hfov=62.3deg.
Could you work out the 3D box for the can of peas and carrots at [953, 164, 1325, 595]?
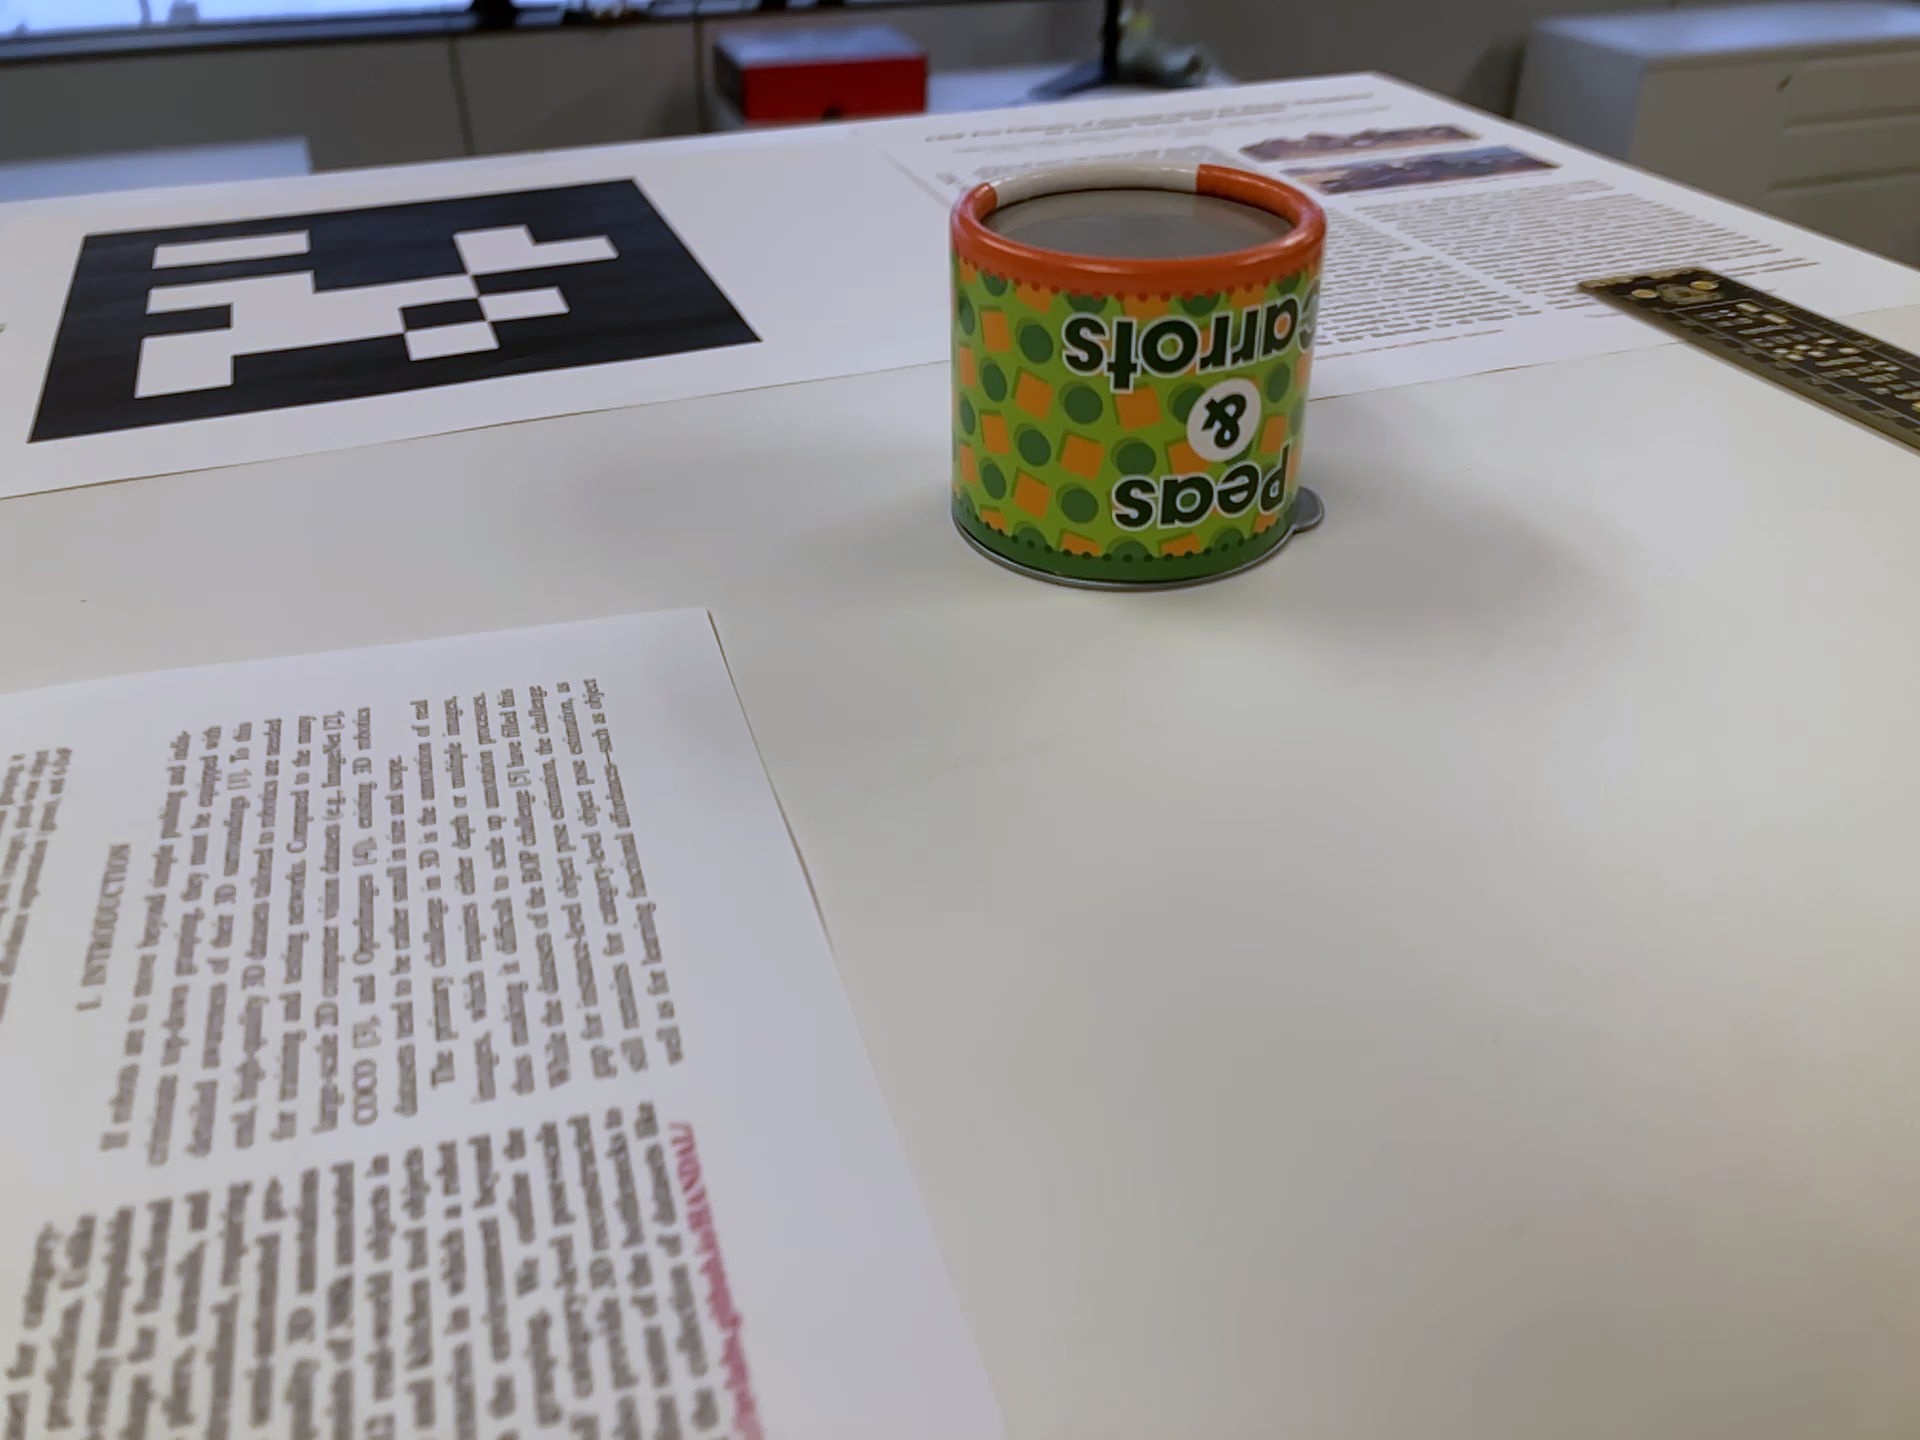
[{"bbox_3d":[0.033,-0.064,0.292,0.071,0.059,0.071,-1,33,1],"label":"can of peas and carrots"}]
